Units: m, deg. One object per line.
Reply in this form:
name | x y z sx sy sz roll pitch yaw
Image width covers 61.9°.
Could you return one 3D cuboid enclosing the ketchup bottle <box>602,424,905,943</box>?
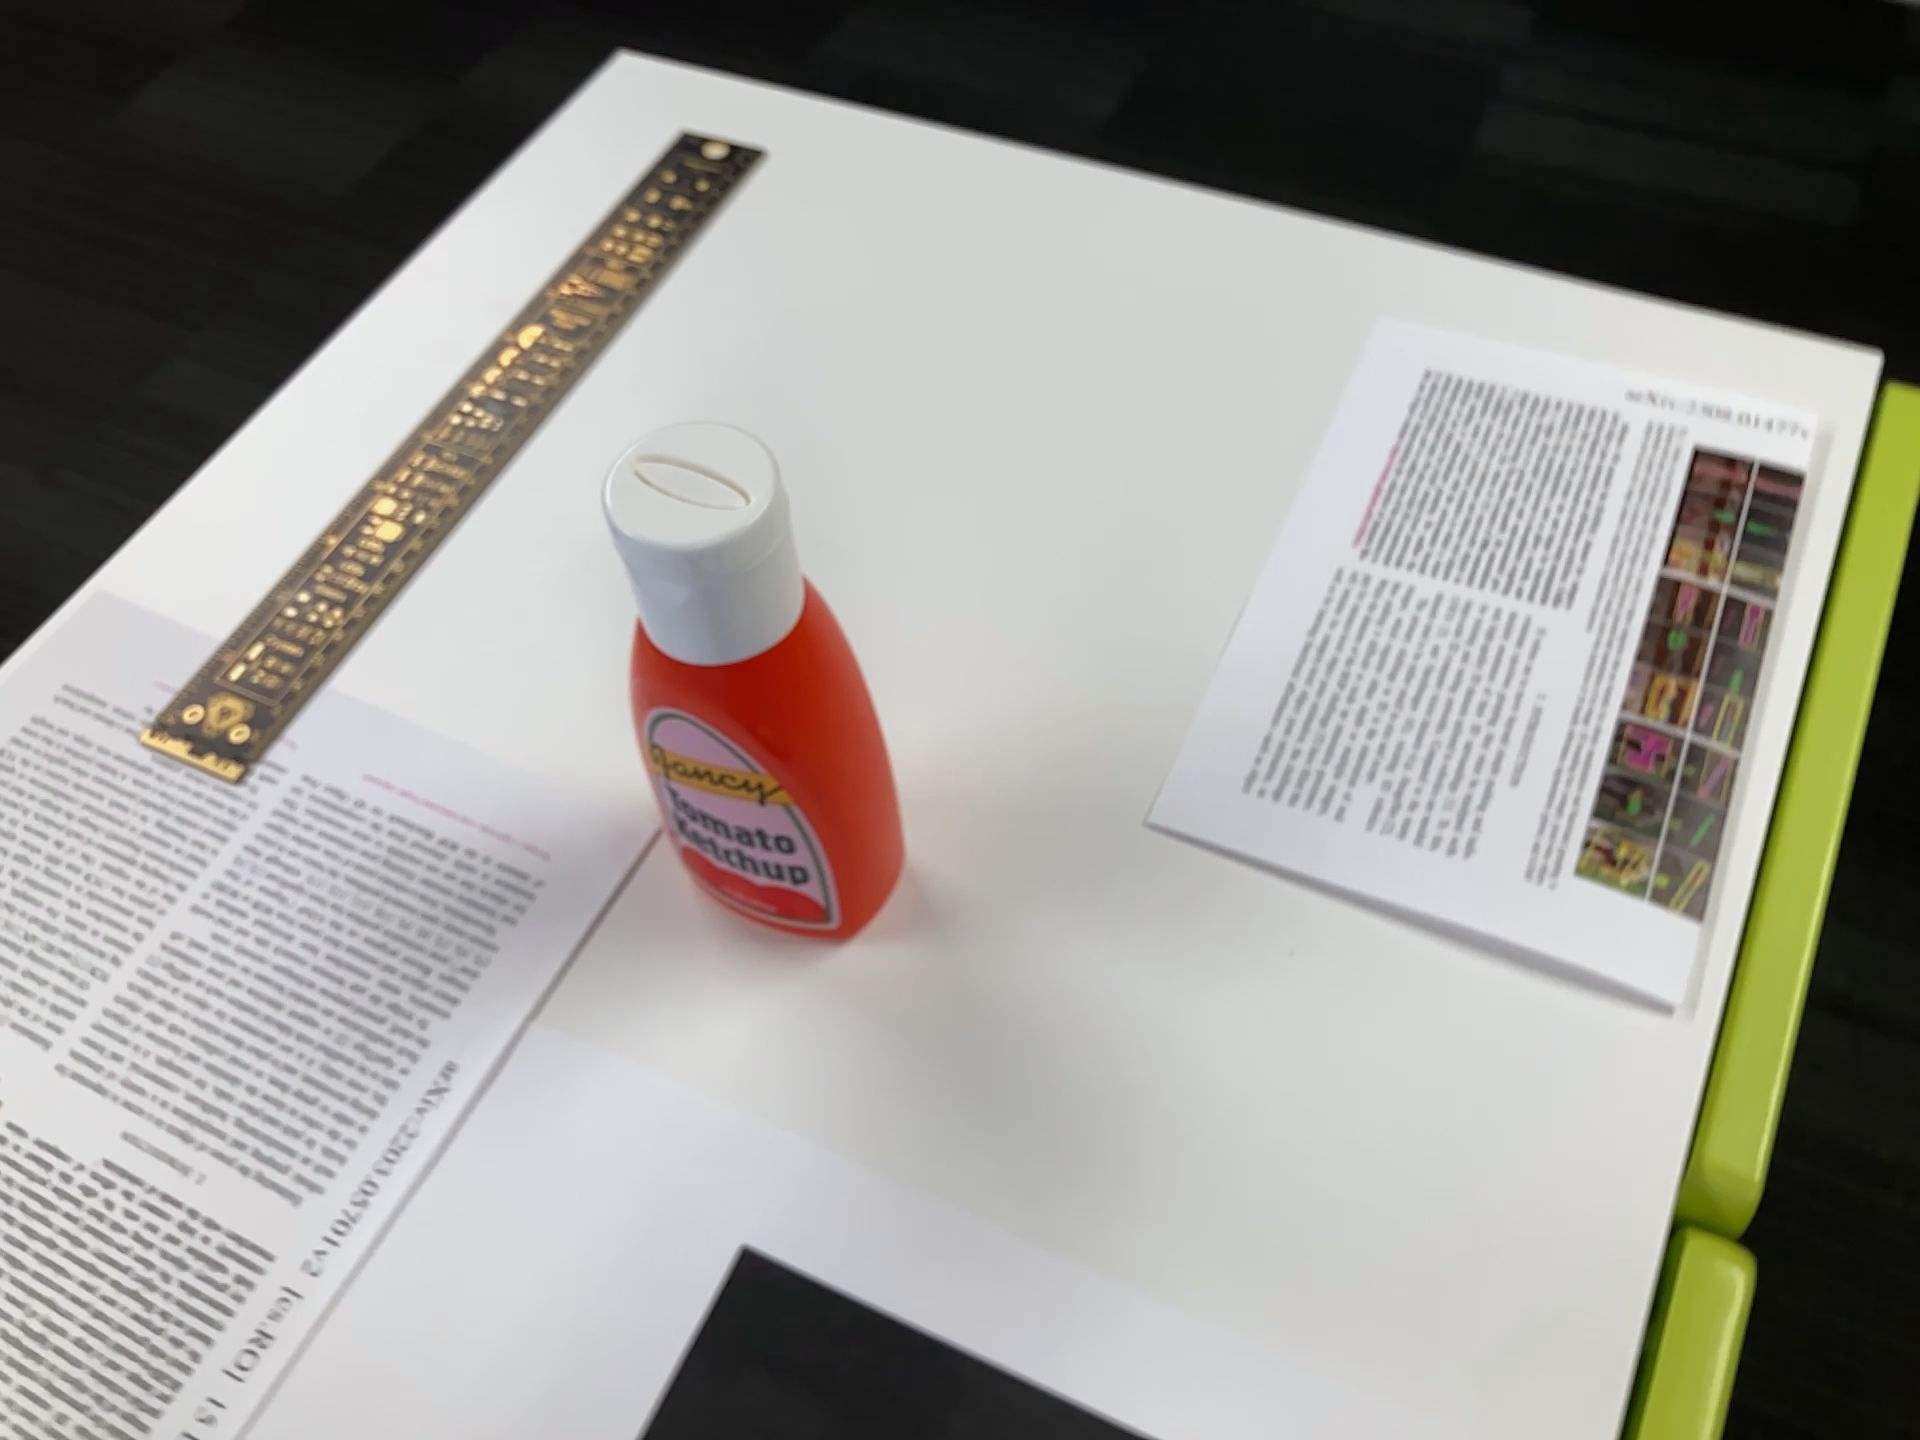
ketchup bottle | -0.050 -0.004 0.379 0.065 0.149 0.043 21 57 18
